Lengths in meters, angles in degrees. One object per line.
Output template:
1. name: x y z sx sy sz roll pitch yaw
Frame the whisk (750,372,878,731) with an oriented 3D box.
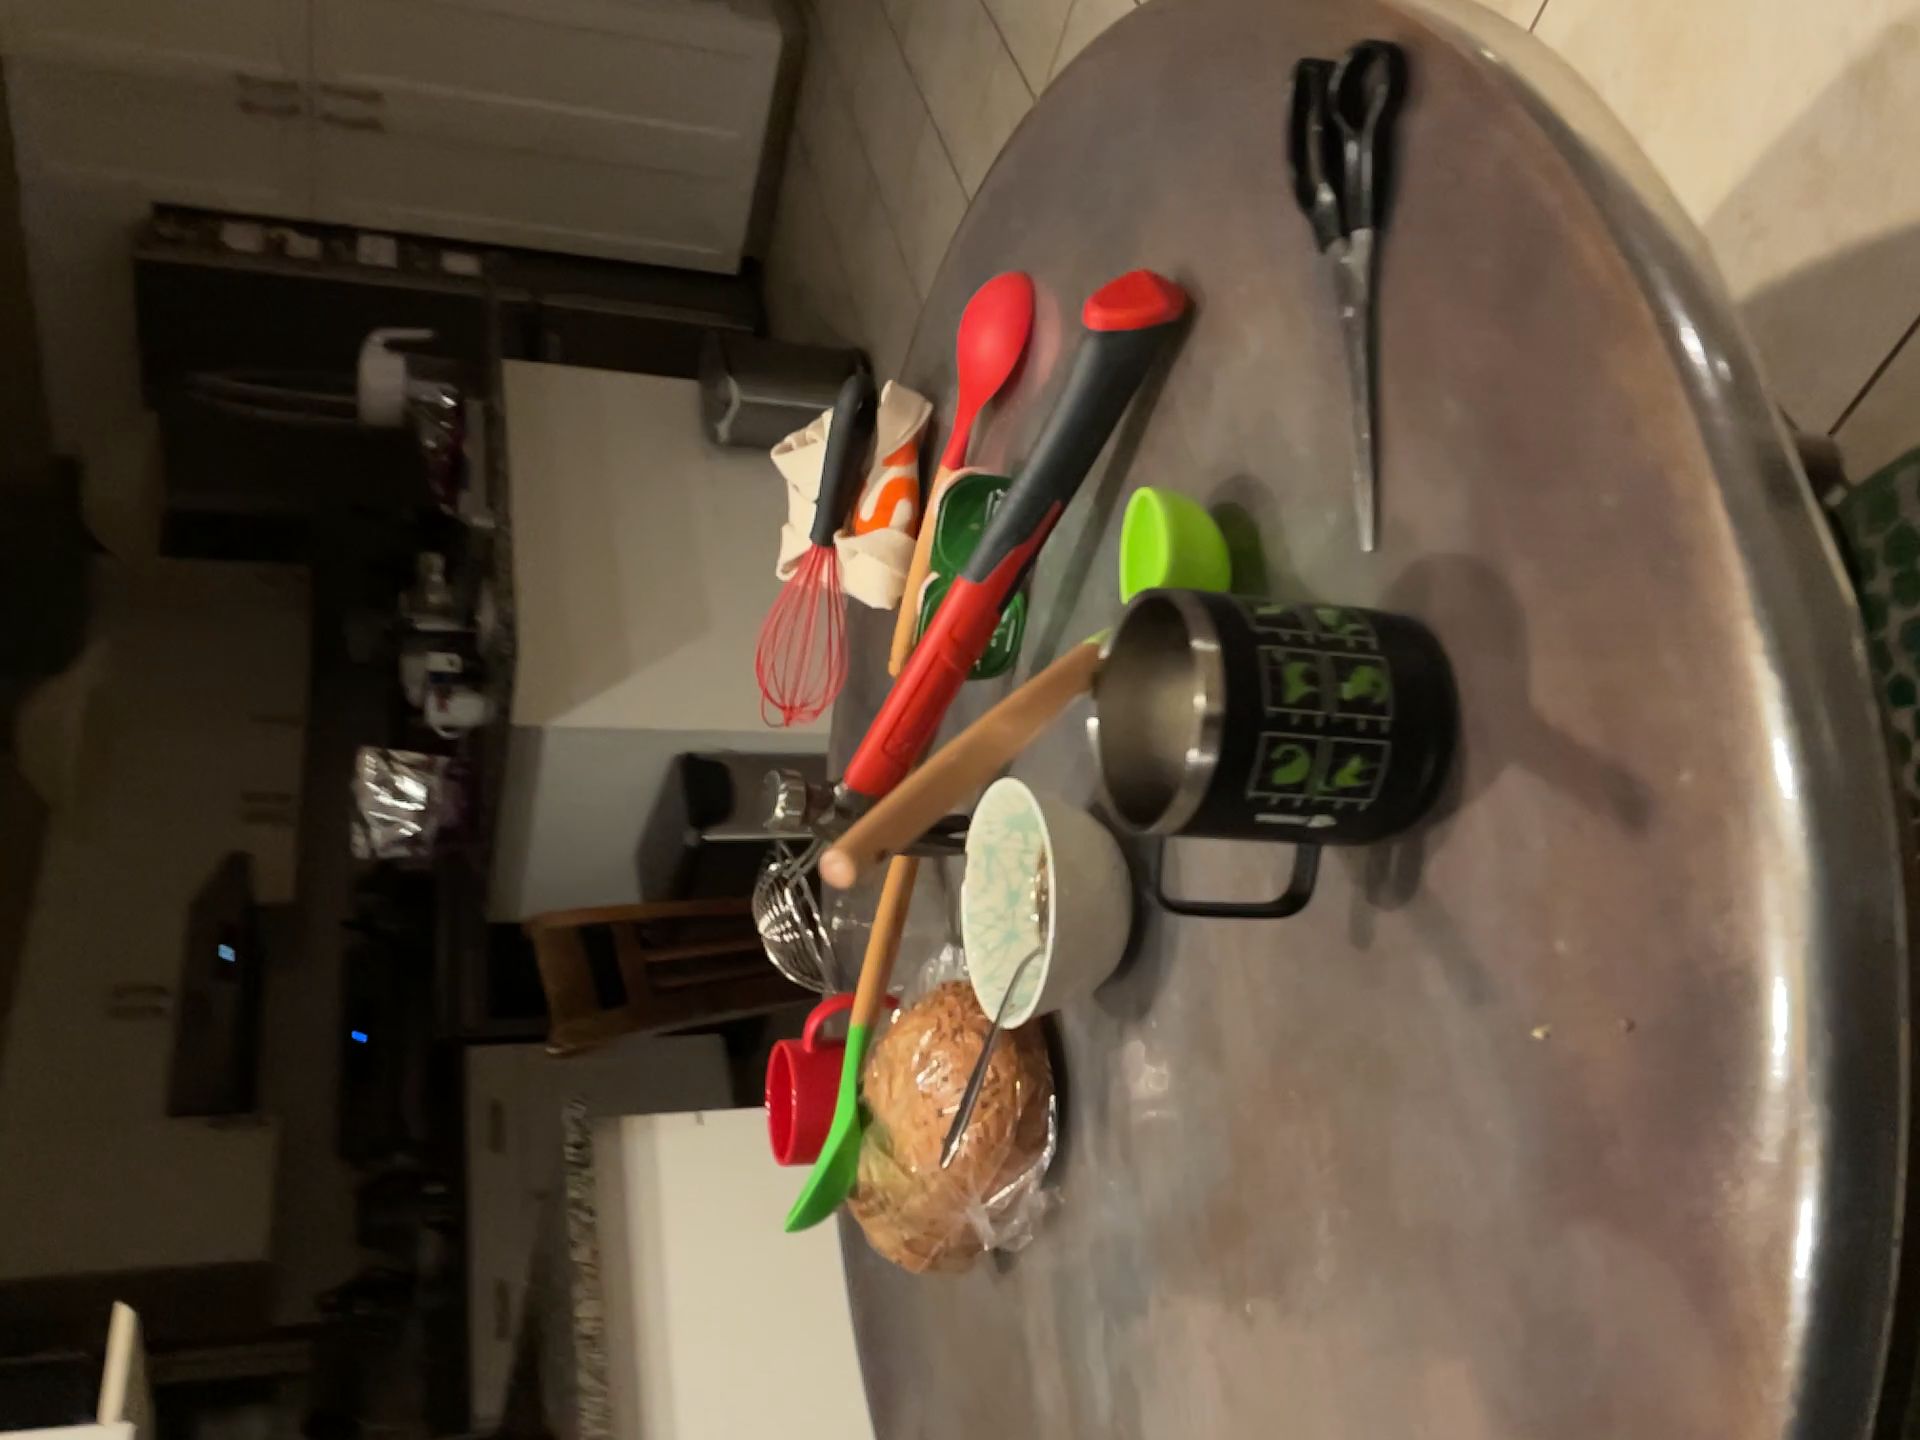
1. whisk: -0.101 -0.114 1.139 0.073 0.073 0.295 -111 31 -50

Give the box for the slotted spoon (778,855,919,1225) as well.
1. slotted spoon: -0.055 0.167 0.975 0.070 0.031 0.314 122 167 -47

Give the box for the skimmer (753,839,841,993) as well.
1. skimmer: -0.063 0.071 1.155 0.363 0.090 0.127 -55 45 39

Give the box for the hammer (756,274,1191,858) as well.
1. hammer: 0.025 -0.064 0.862 0.386 0.143 0.038 -58 35 34

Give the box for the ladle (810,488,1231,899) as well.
1. ladle: 0.028 -0.015 0.600 0.062 0.320 0.078 13 119 26

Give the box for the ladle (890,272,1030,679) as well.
1. ladle: -0.010 -0.147 1.038 0.069 0.031 0.315 -108 26 -44
